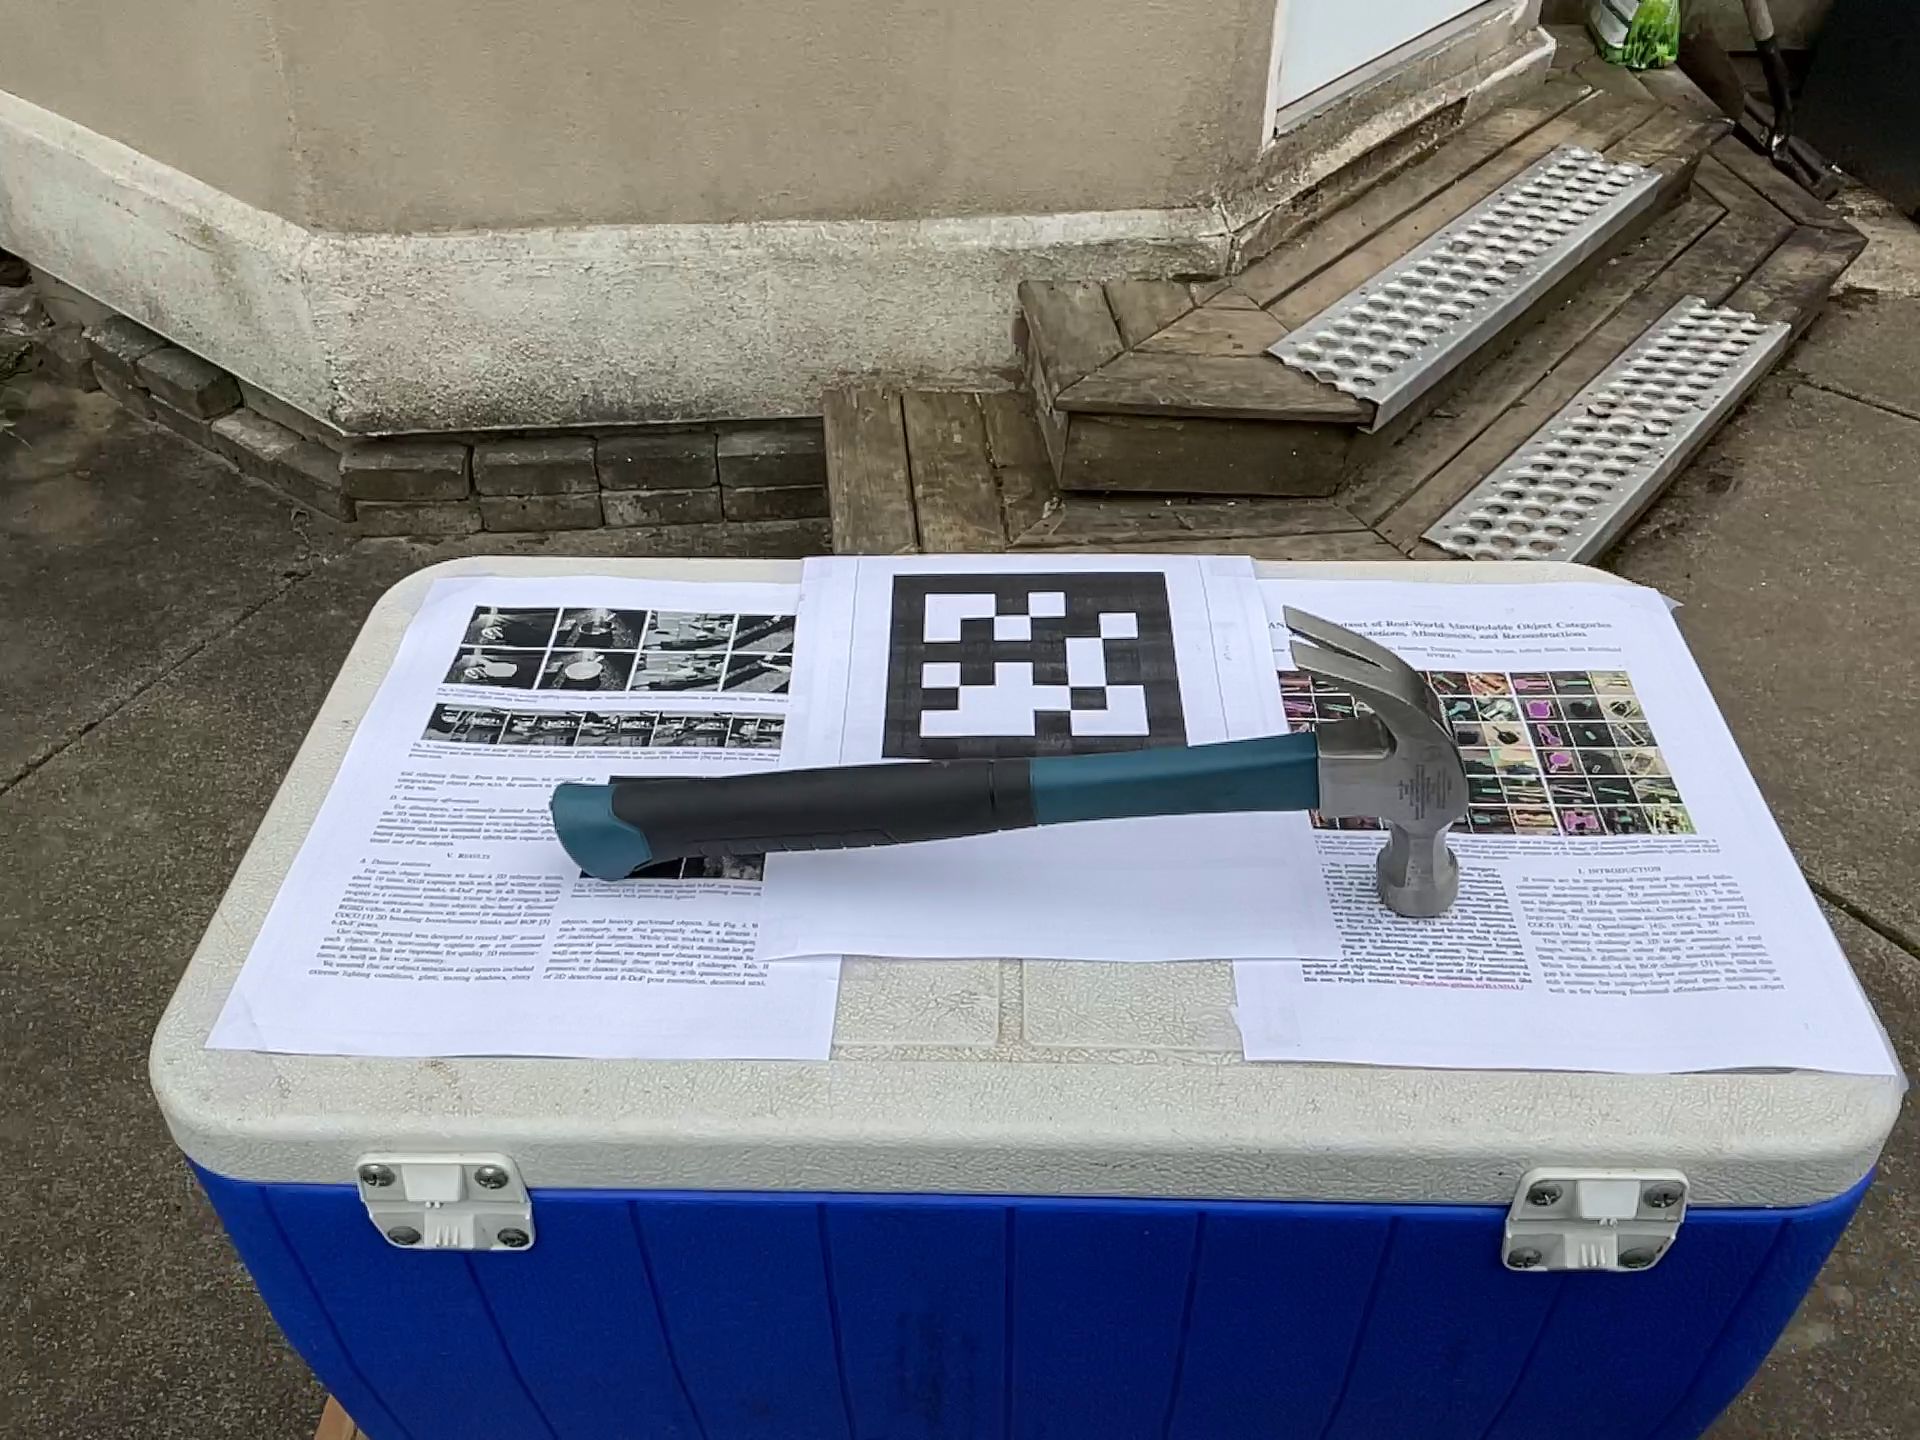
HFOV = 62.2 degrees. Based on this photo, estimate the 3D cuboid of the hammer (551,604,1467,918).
[{"bbox_3d":[0.014,0.029,0.583,0.331,0.128,0.033,-5,38,8],"label":"hammer"}]
